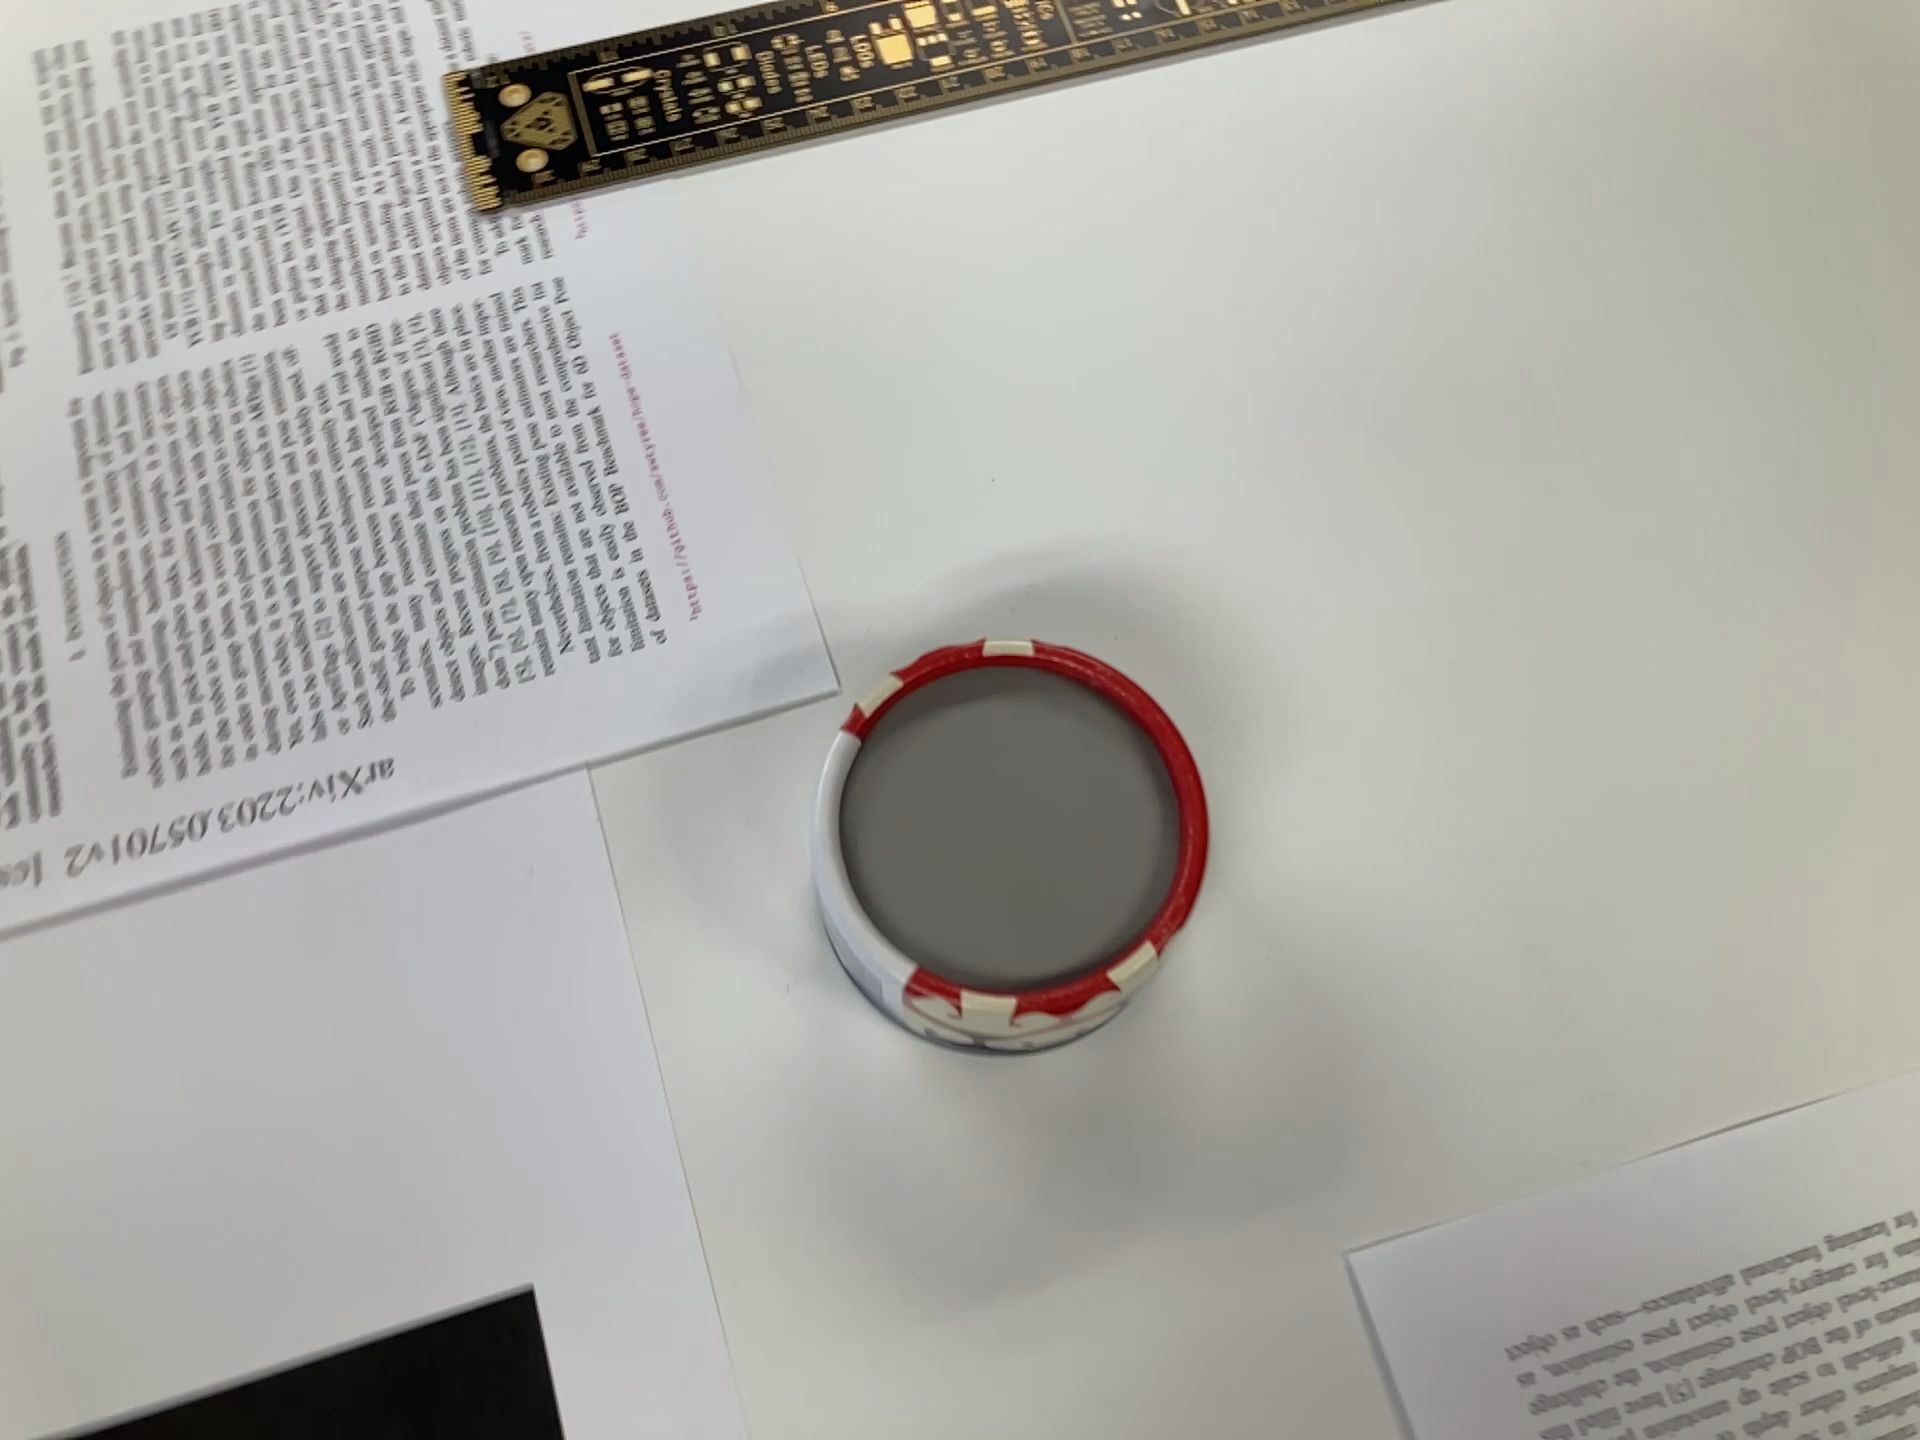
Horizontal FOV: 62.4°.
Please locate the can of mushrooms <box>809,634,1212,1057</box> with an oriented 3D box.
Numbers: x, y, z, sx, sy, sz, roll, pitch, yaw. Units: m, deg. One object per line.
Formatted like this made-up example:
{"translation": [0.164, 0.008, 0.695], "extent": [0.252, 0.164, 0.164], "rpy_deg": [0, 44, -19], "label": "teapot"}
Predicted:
{"translation": [0.010, 0.020, 0.268], "extent": [0.071, 0.033, 0.071], "rpy_deg": [1, 68, -2], "label": "can of mushrooms"}
